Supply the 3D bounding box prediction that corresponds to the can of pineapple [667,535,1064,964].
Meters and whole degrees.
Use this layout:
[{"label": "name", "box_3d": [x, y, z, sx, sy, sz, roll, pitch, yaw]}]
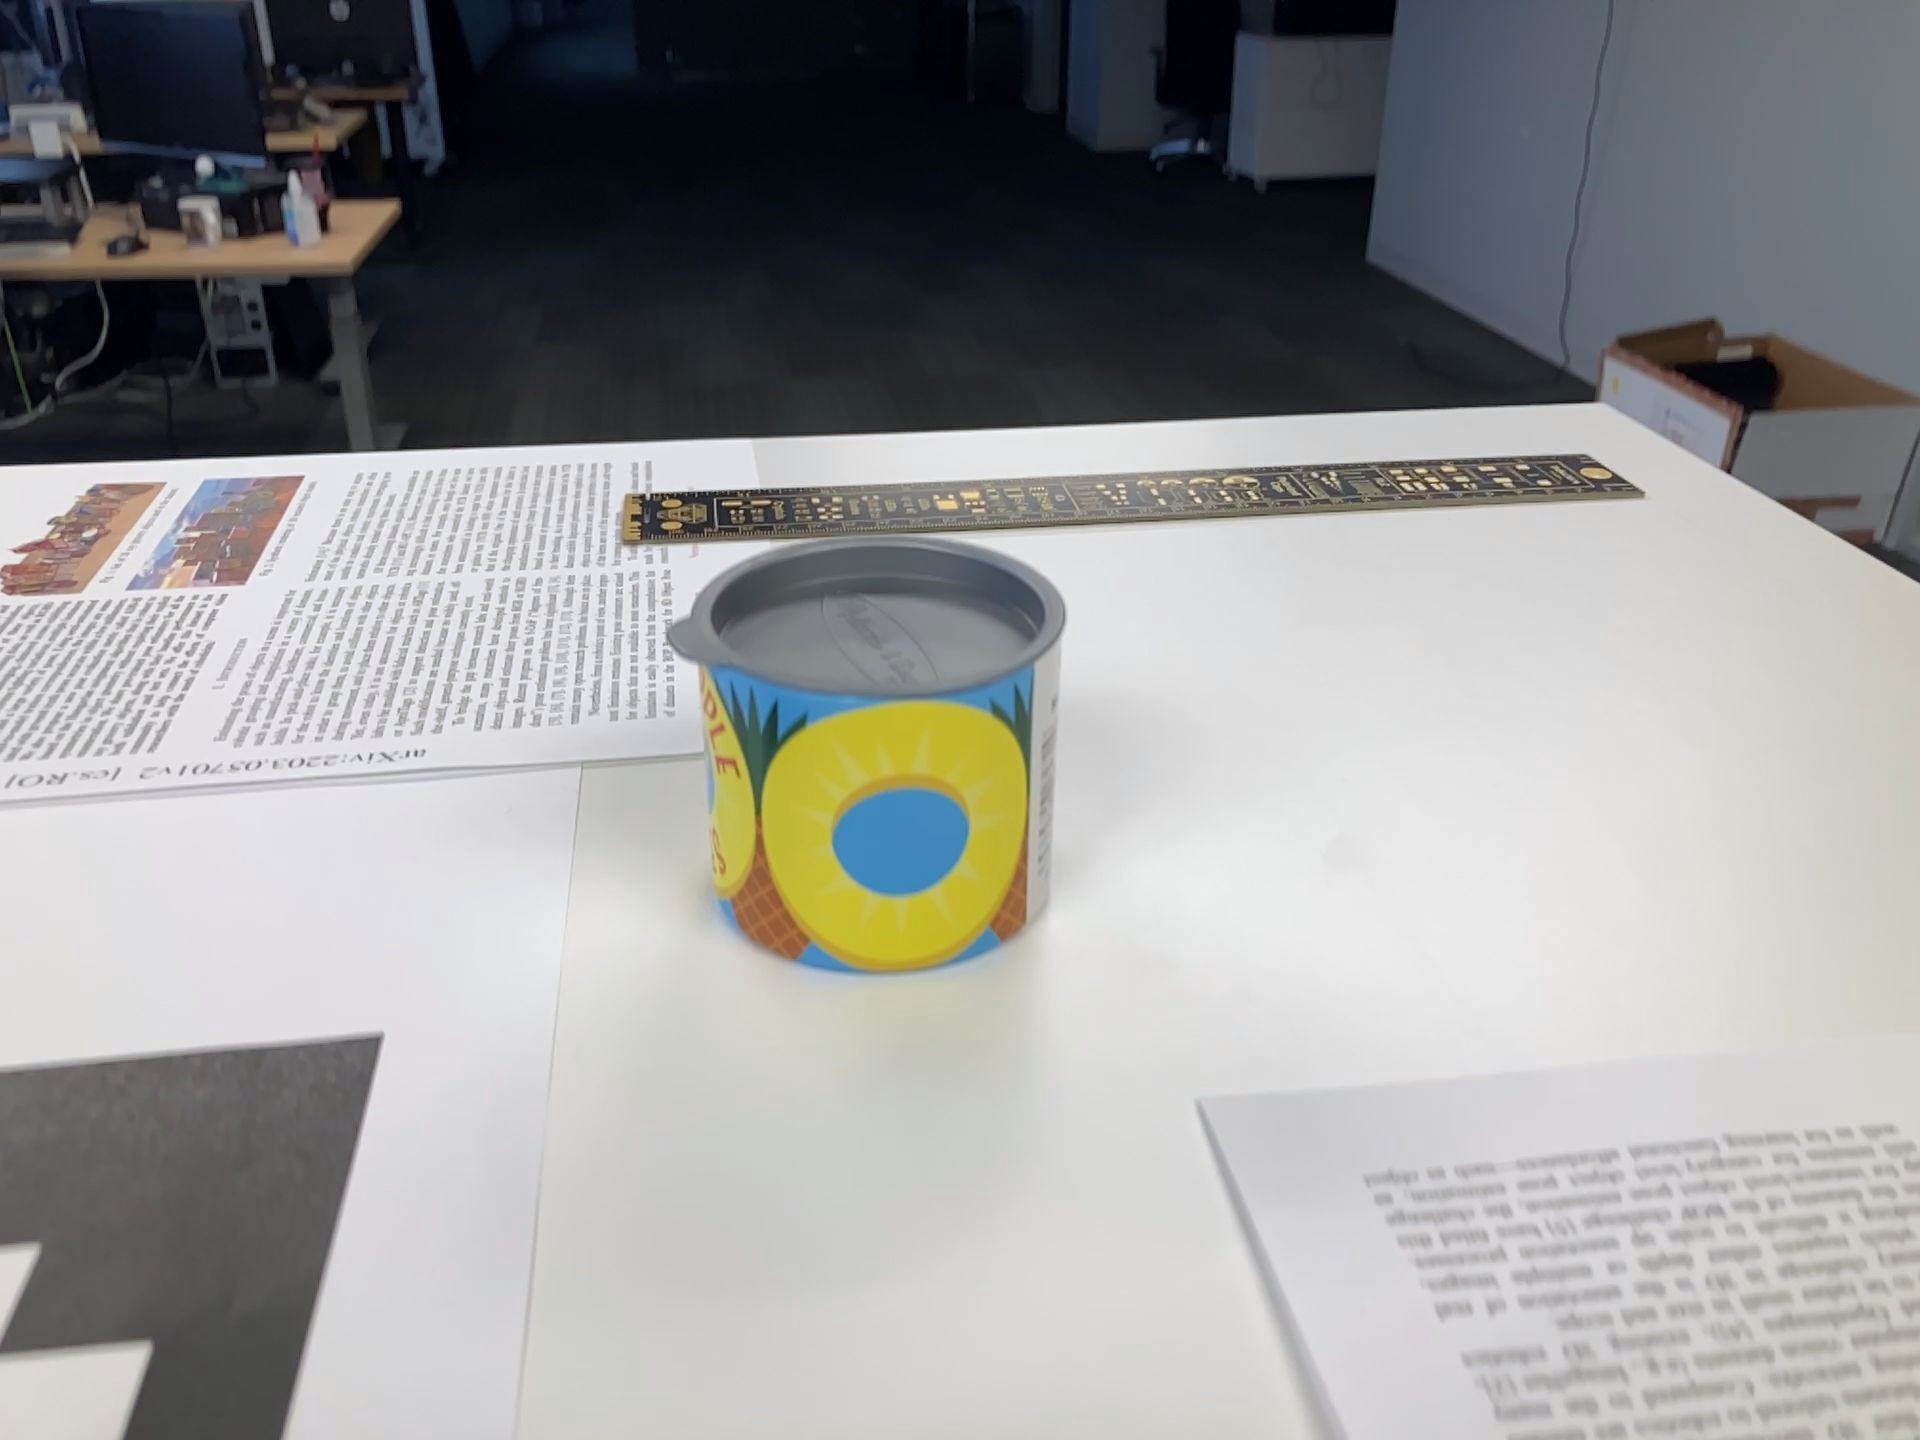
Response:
[{"label": "can of pineapple", "box_3d": [-0.017, 0.004, 0.296, 0.071, 0.058, 0.071, 0, 27, 0]}]
